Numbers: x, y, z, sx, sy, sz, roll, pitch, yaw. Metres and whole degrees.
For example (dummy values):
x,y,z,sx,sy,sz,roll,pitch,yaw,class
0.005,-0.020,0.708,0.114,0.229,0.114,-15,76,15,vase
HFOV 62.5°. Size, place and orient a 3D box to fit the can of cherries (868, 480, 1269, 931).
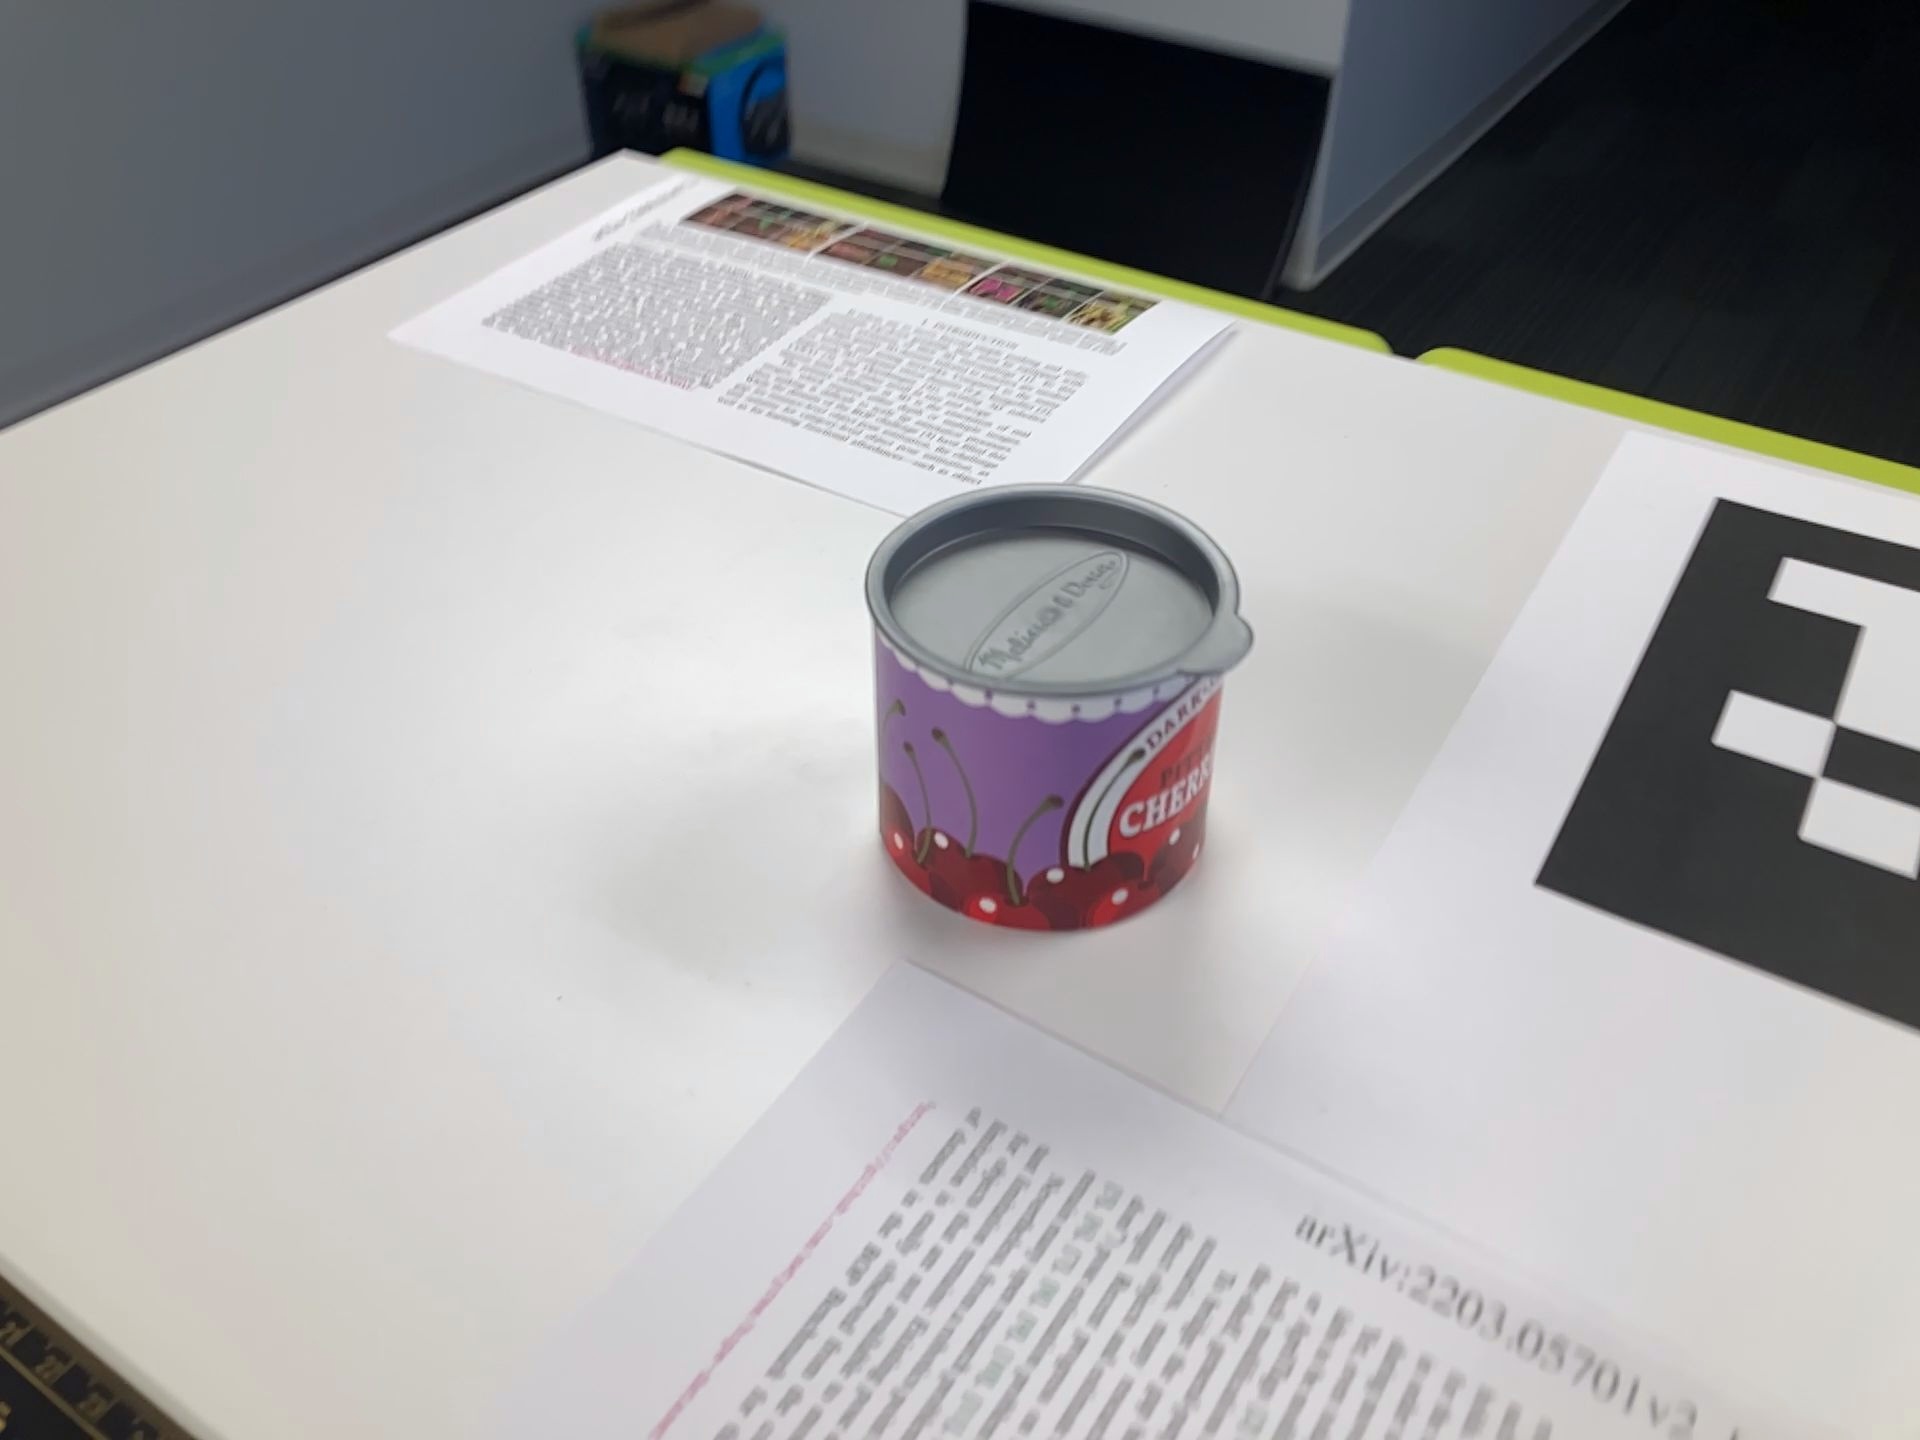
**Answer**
x,y,z,sx,sy,sz,roll,pitch,yaw,class
0.019,-0.002,0.296,0.071,0.058,0.071,0,39,0,can of cherries
